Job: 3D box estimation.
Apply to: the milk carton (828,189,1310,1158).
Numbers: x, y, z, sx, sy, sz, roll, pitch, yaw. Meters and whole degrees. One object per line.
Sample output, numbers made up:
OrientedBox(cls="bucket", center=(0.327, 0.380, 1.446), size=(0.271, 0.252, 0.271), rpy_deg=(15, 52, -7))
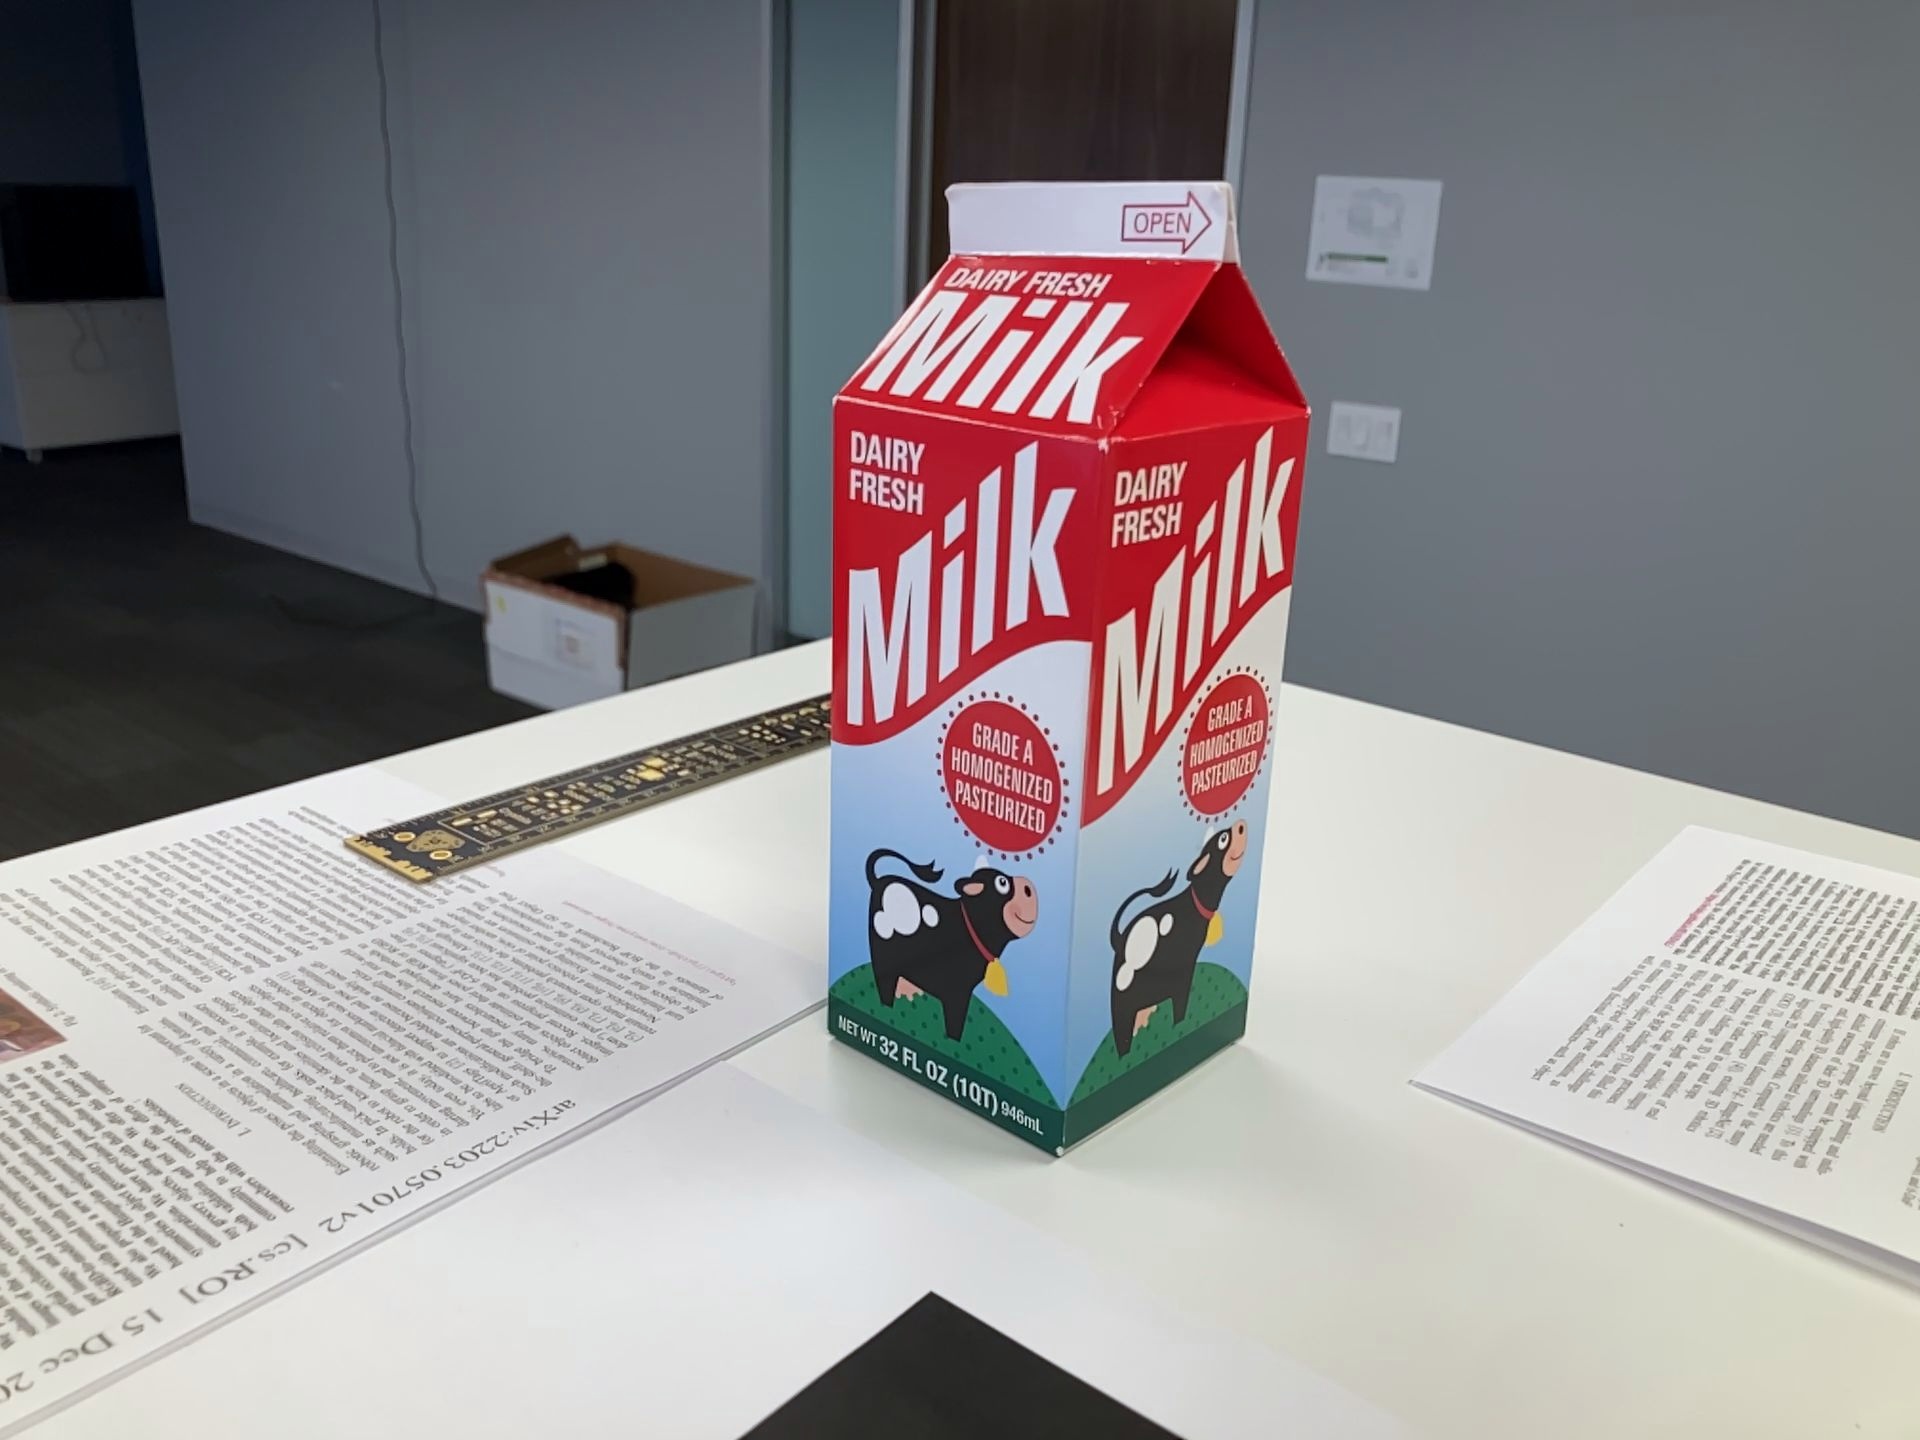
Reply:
OrientedBox(cls="milk carton", center=(0.021, -0.014, 0.342), size=(0.072, 0.190, 0.073), rpy_deg=(17, 23, 40))
